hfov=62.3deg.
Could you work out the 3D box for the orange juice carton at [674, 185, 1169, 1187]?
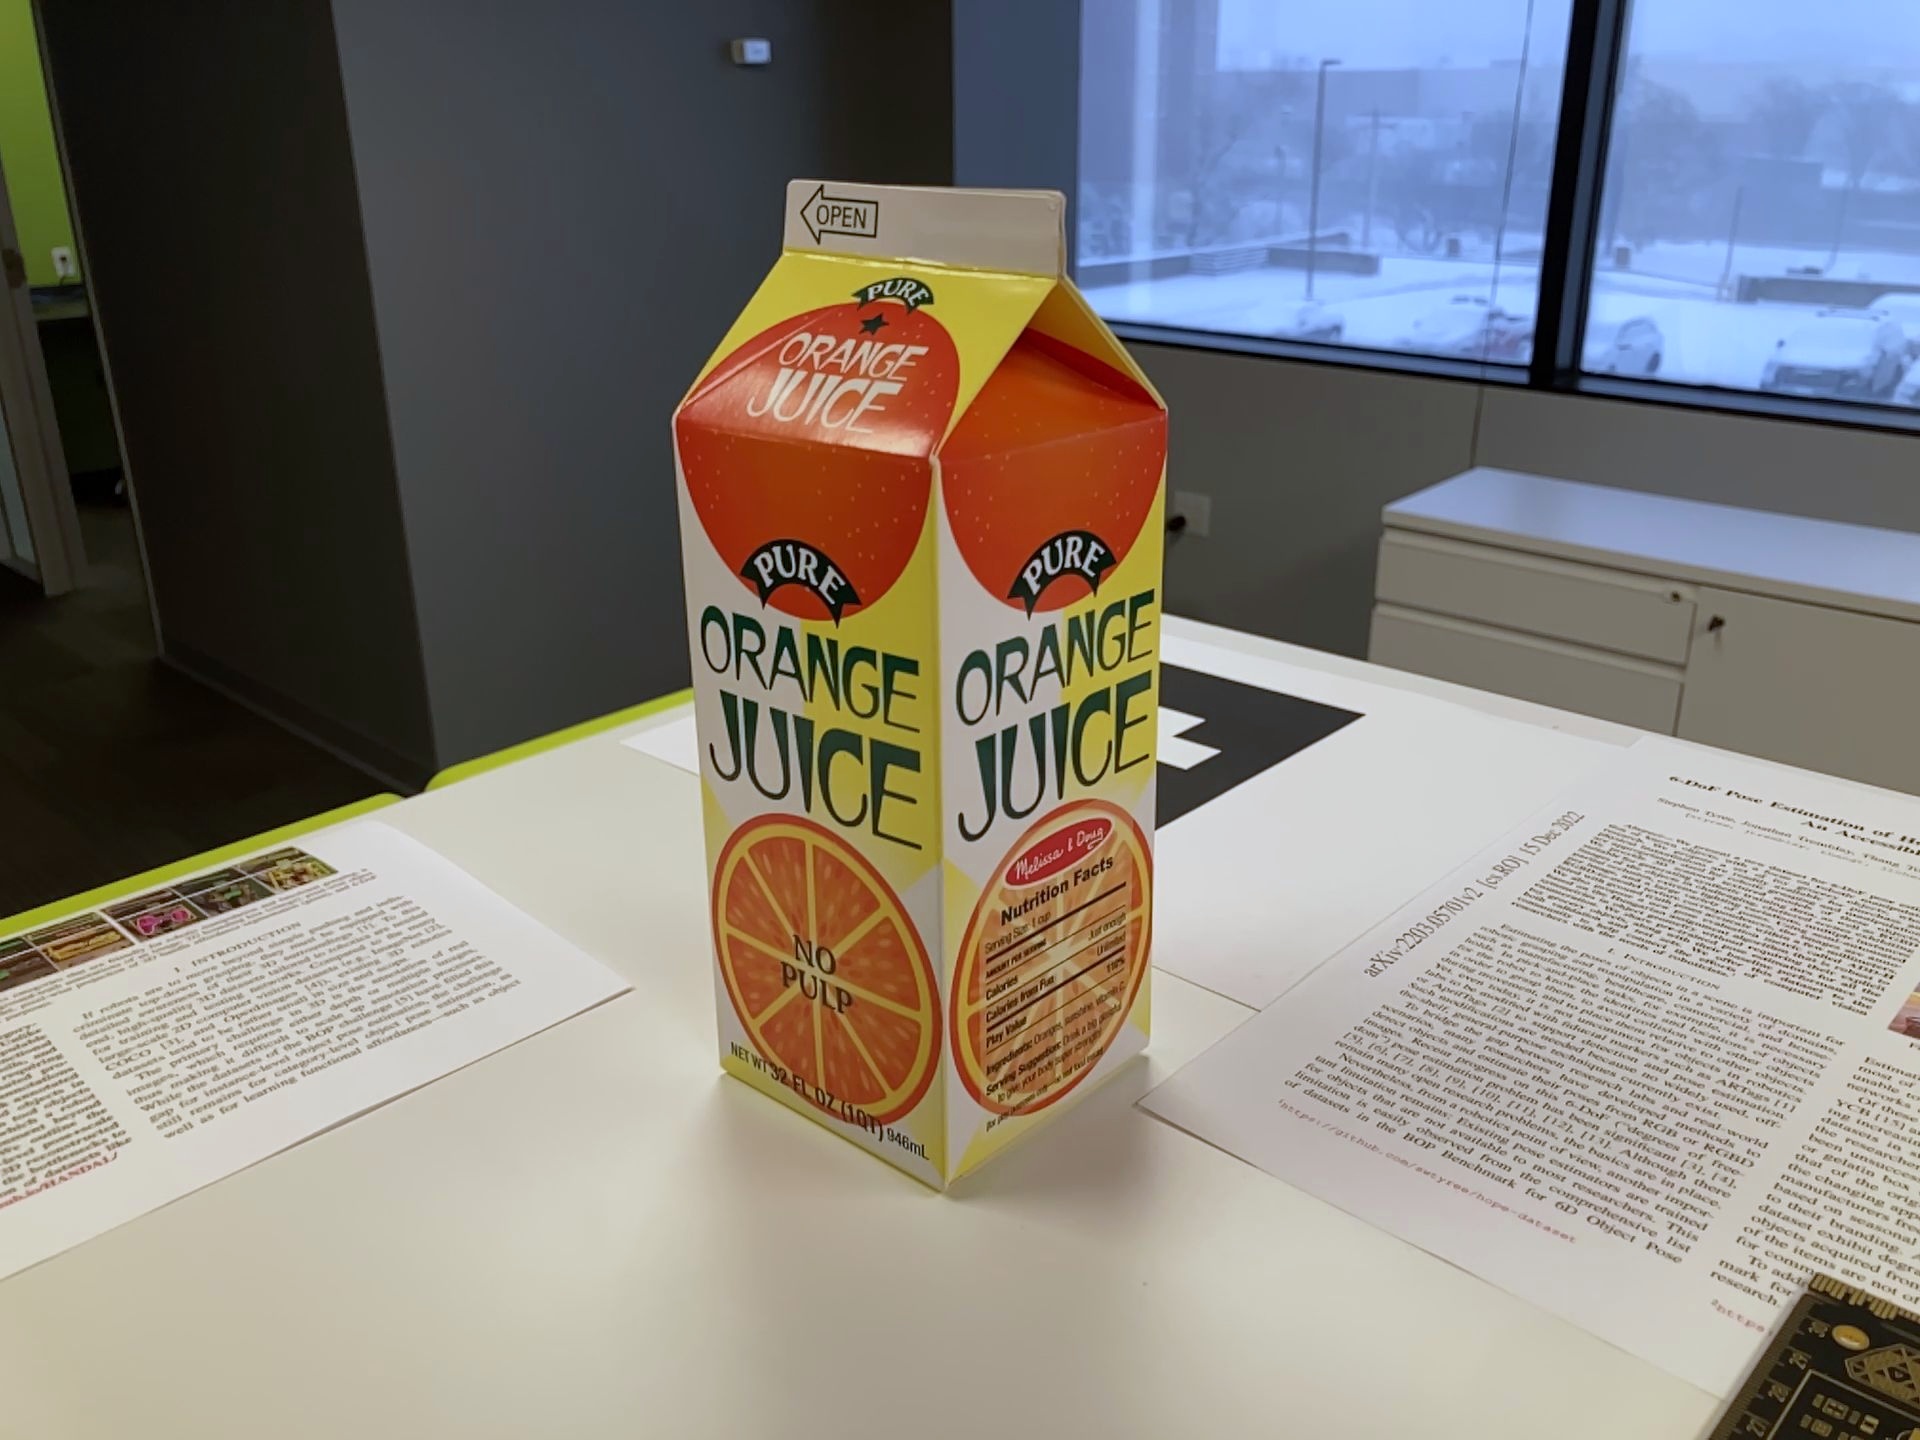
[{"bbox_3d":[-0.007,-0.011,0.335,0.072,0.192,0.073,16,25,39],"label":"orange juice carton"}]
